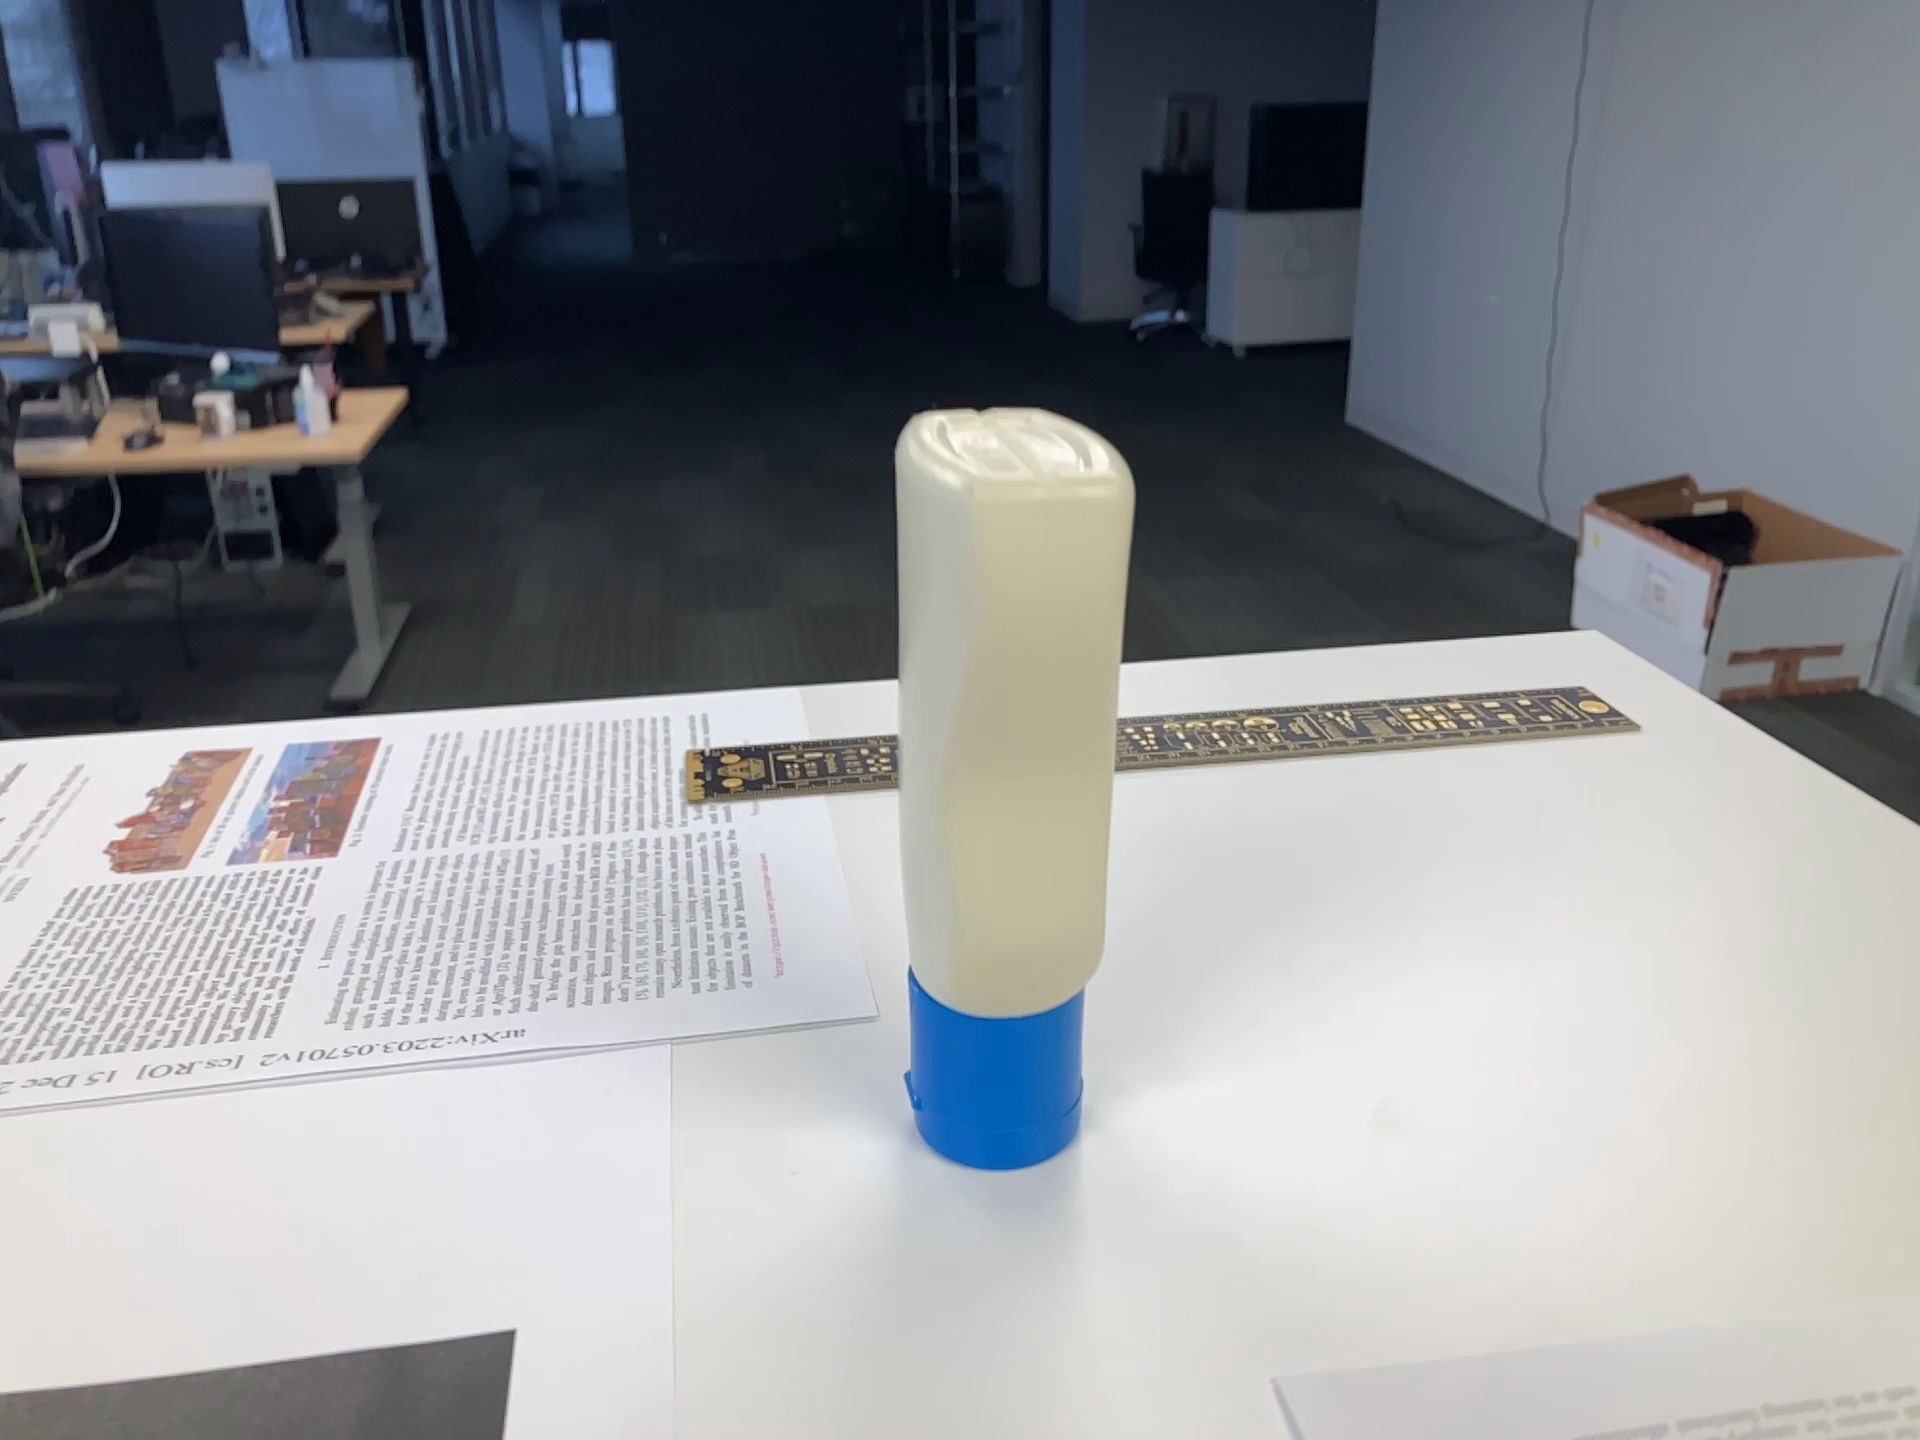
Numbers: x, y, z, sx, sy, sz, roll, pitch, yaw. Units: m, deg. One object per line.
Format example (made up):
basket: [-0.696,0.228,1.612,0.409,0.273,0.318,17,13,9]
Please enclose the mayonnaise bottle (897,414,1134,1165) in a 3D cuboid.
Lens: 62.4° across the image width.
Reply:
mayonnaise bottle: [0.009,0.018,0.317,0.041,0.148,0.065,-4,23,-10]
